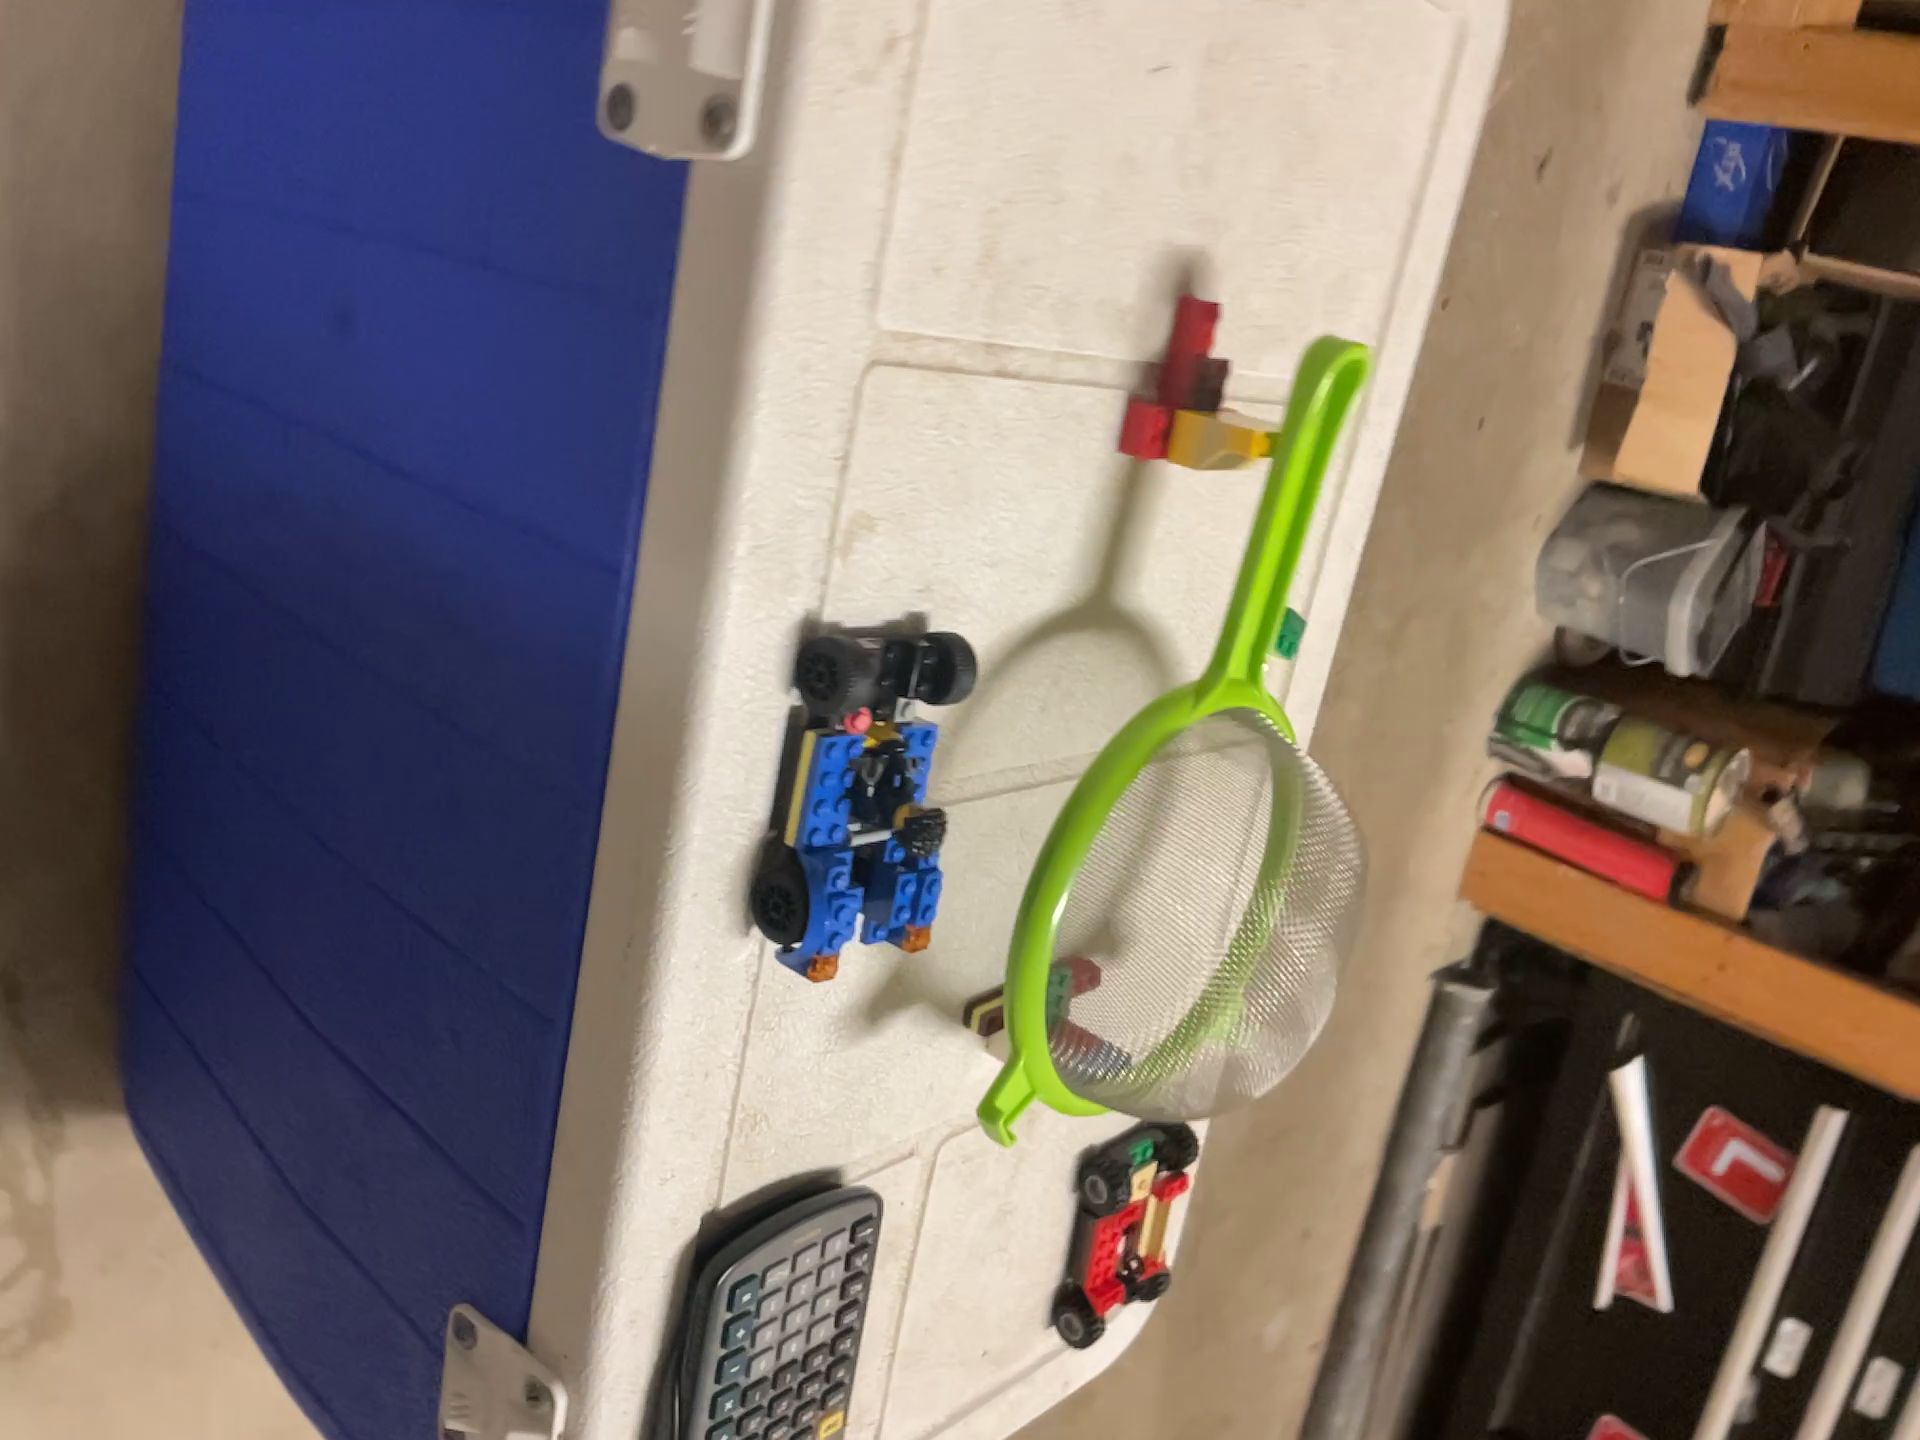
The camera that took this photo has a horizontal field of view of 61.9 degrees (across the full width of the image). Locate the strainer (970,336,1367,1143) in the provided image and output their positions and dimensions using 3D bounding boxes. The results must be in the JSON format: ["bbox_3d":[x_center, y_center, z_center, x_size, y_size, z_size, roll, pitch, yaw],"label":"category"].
[{"bbox_3d":[0.098,0.017,0.486,0.151,0.069,0.256,-3,113,-49],"label":"strainer"}]
